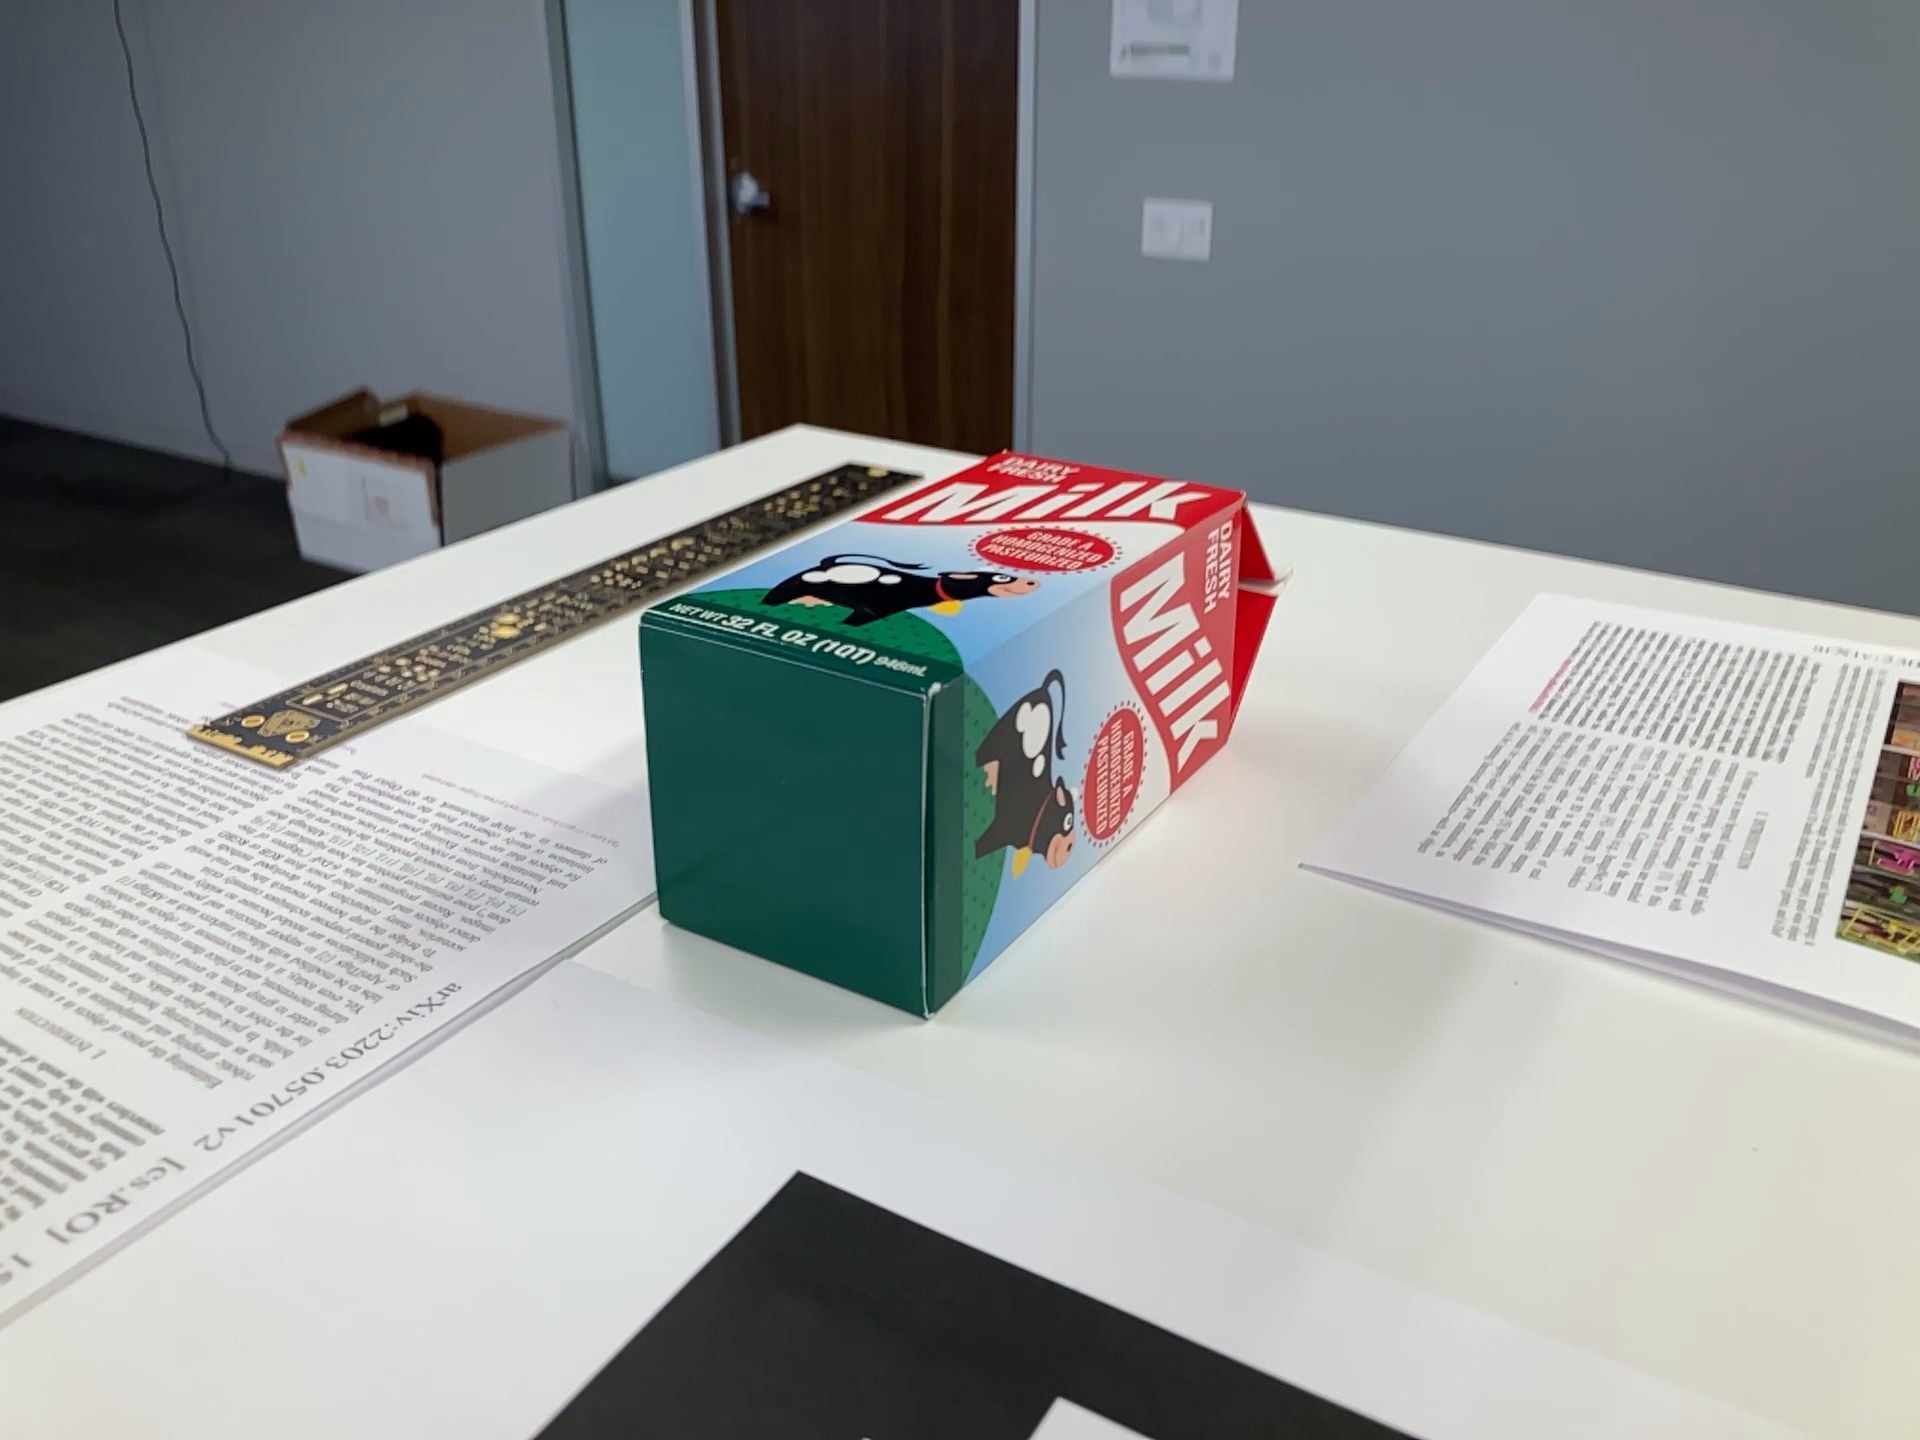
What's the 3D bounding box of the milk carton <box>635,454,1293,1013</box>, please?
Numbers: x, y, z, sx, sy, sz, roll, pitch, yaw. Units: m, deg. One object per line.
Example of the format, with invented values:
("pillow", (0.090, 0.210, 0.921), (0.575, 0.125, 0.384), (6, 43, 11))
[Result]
("milk carton", (0.014, -0.015, 0.383), (0.072, 0.073, 0.190), (14, 27, 28))
